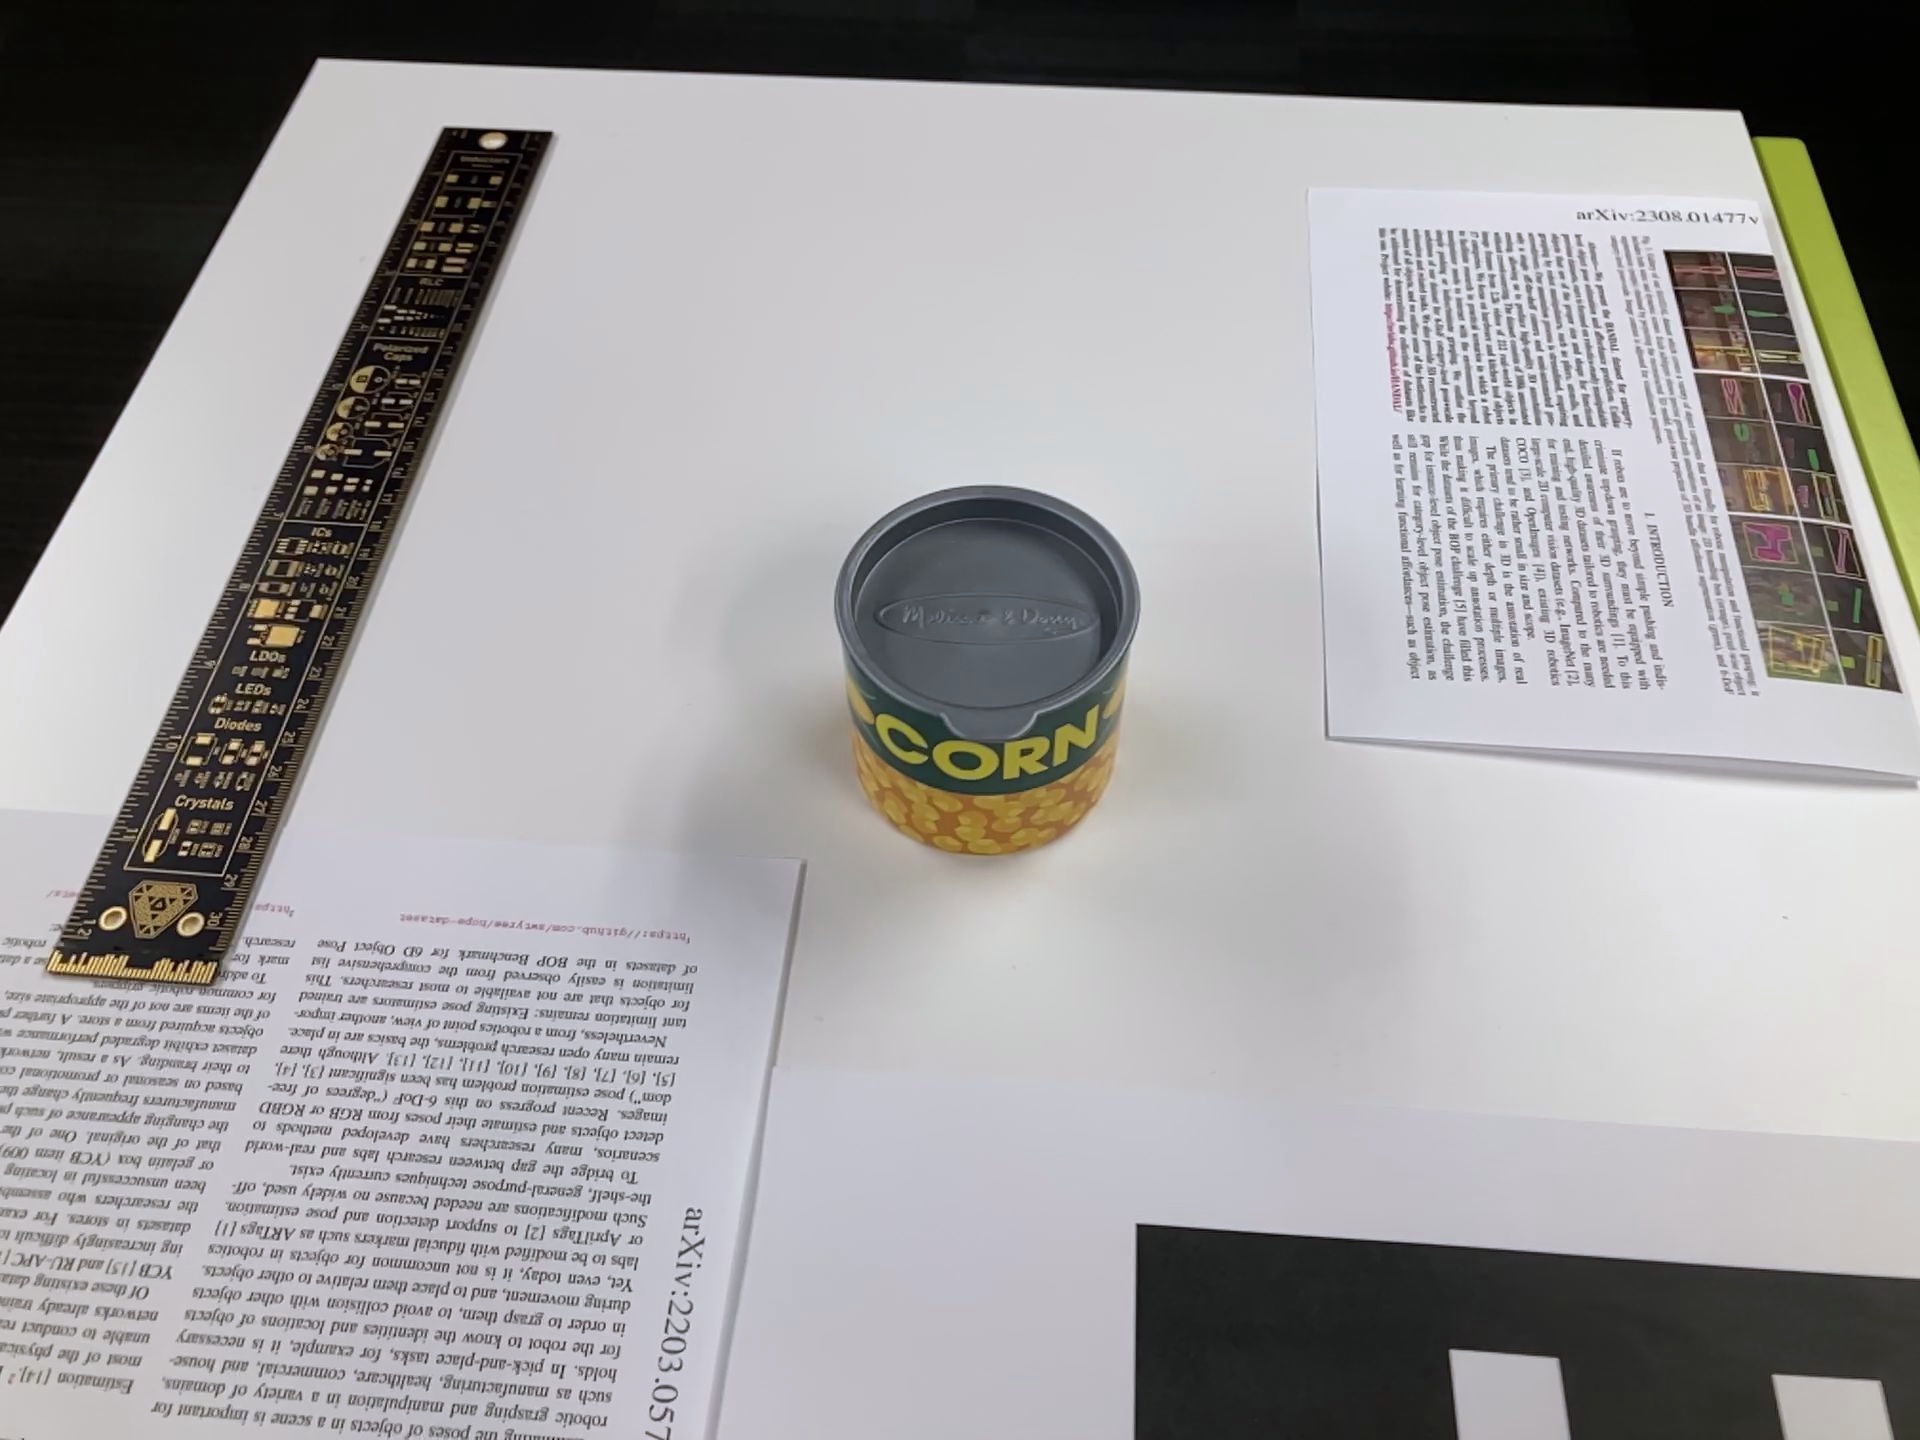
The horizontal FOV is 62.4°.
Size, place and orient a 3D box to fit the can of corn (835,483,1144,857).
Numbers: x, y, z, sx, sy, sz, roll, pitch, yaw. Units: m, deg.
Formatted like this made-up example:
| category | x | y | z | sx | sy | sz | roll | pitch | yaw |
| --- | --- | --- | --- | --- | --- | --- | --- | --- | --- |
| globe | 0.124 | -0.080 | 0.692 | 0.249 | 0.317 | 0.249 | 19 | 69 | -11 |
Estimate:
| category | x | y | z | sx | sy | sz | roll | pitch | yaw |
| --- | --- | --- | --- | --- | --- | --- | --- | --- | --- |
| can of corn | 0.006 | -0.008 | 0.363 | 0.071 | 0.058 | 0.071 | 0 | 55 | 0 |
